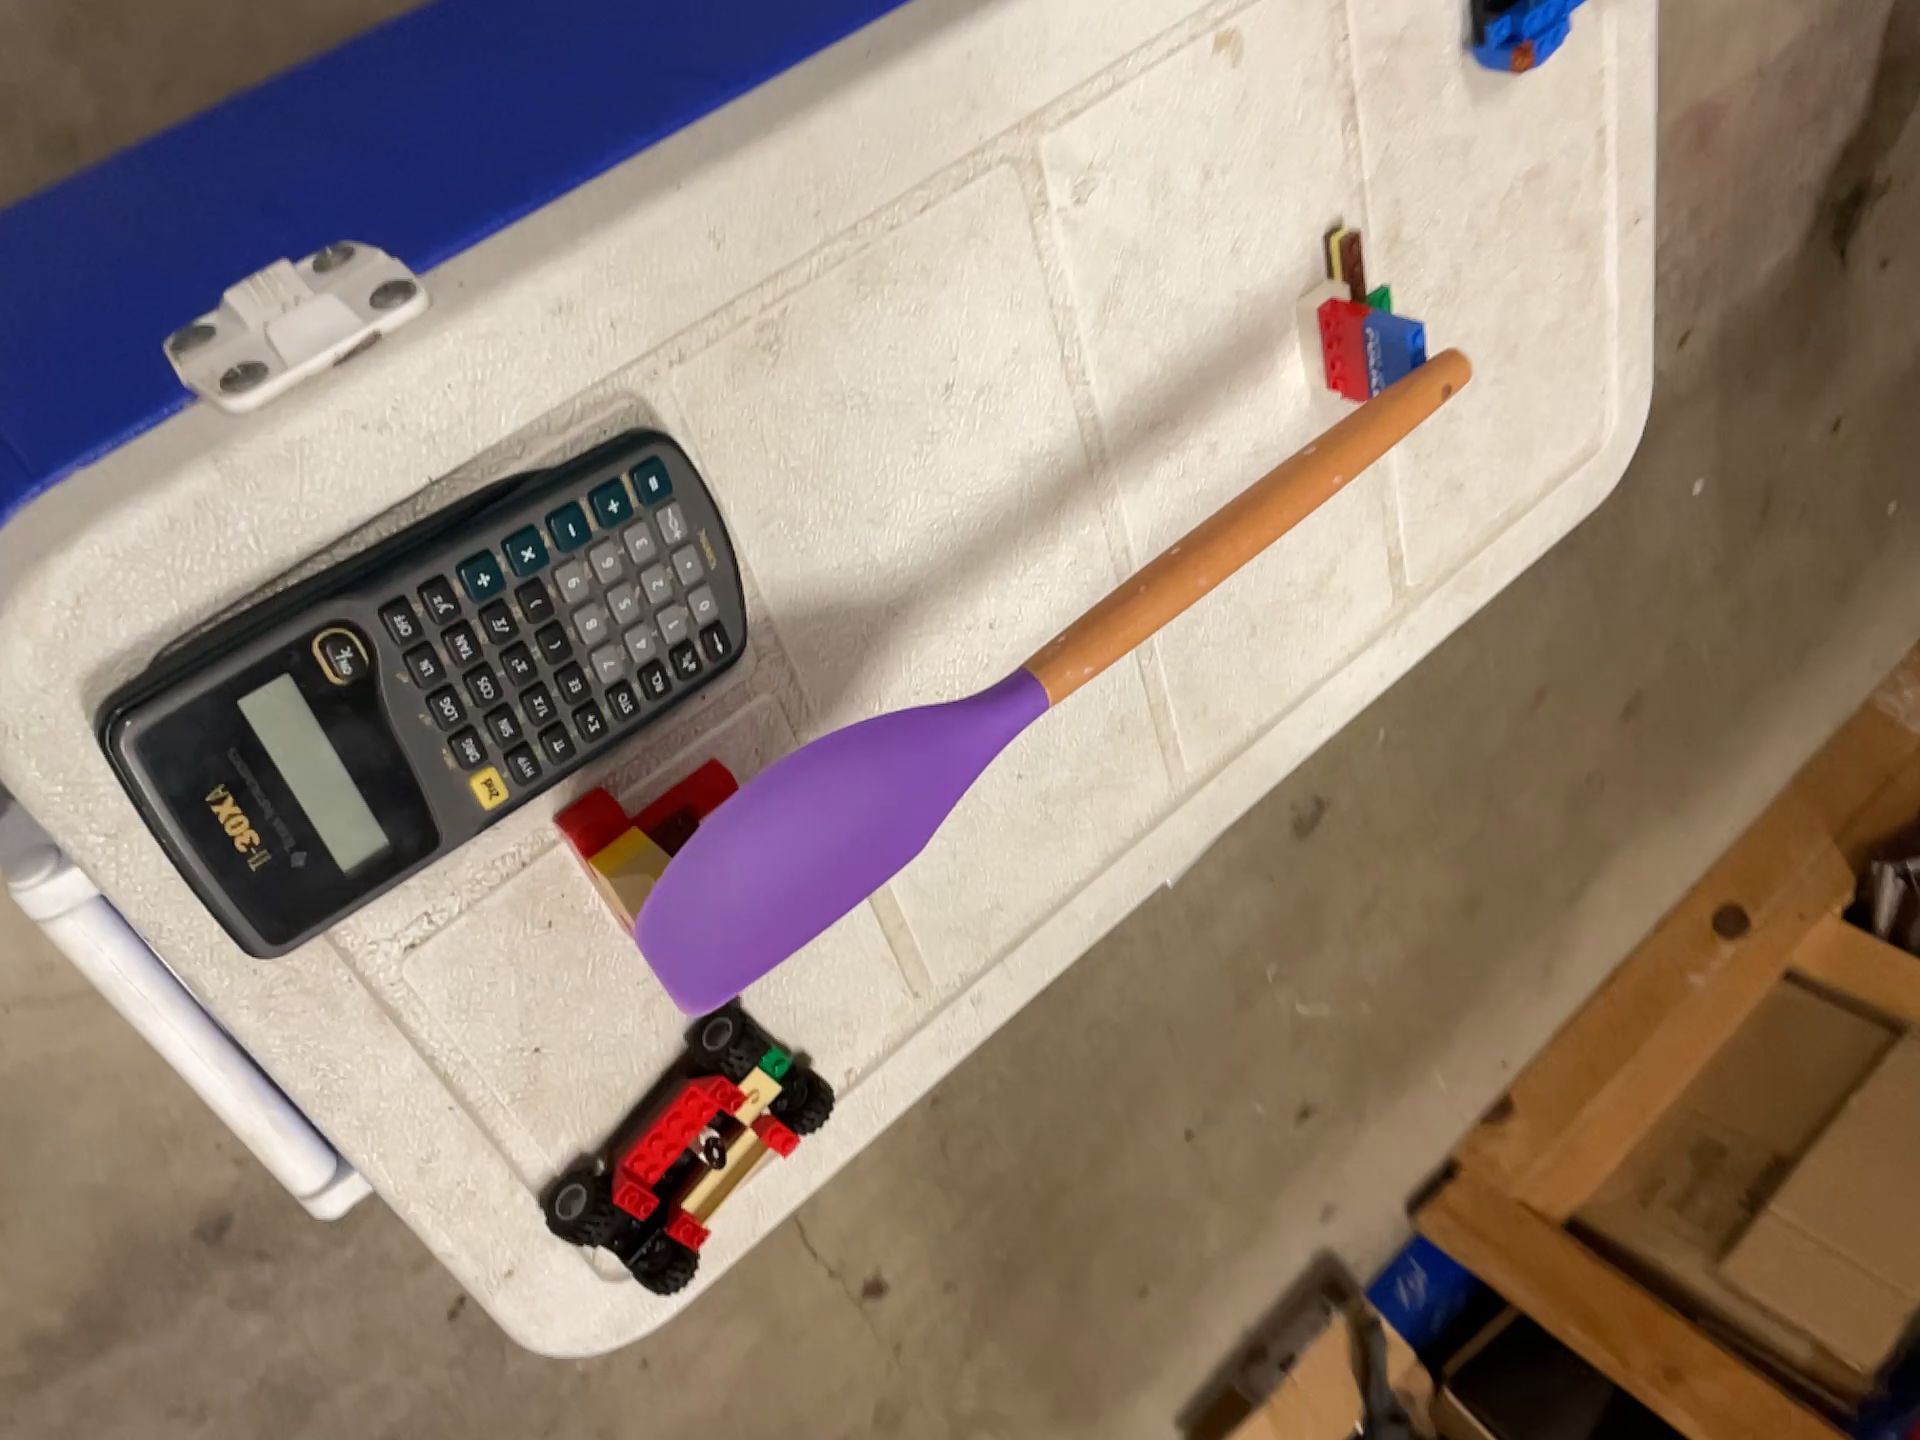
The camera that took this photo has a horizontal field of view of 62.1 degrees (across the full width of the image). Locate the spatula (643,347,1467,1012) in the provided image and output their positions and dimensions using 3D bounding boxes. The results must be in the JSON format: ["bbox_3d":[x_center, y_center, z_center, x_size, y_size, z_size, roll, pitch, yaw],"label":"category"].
[{"bbox_3d":[0.041,-0.027,0.466,0.316,0.018,0.059,-37,134,-19],"label":"spatula"}]
